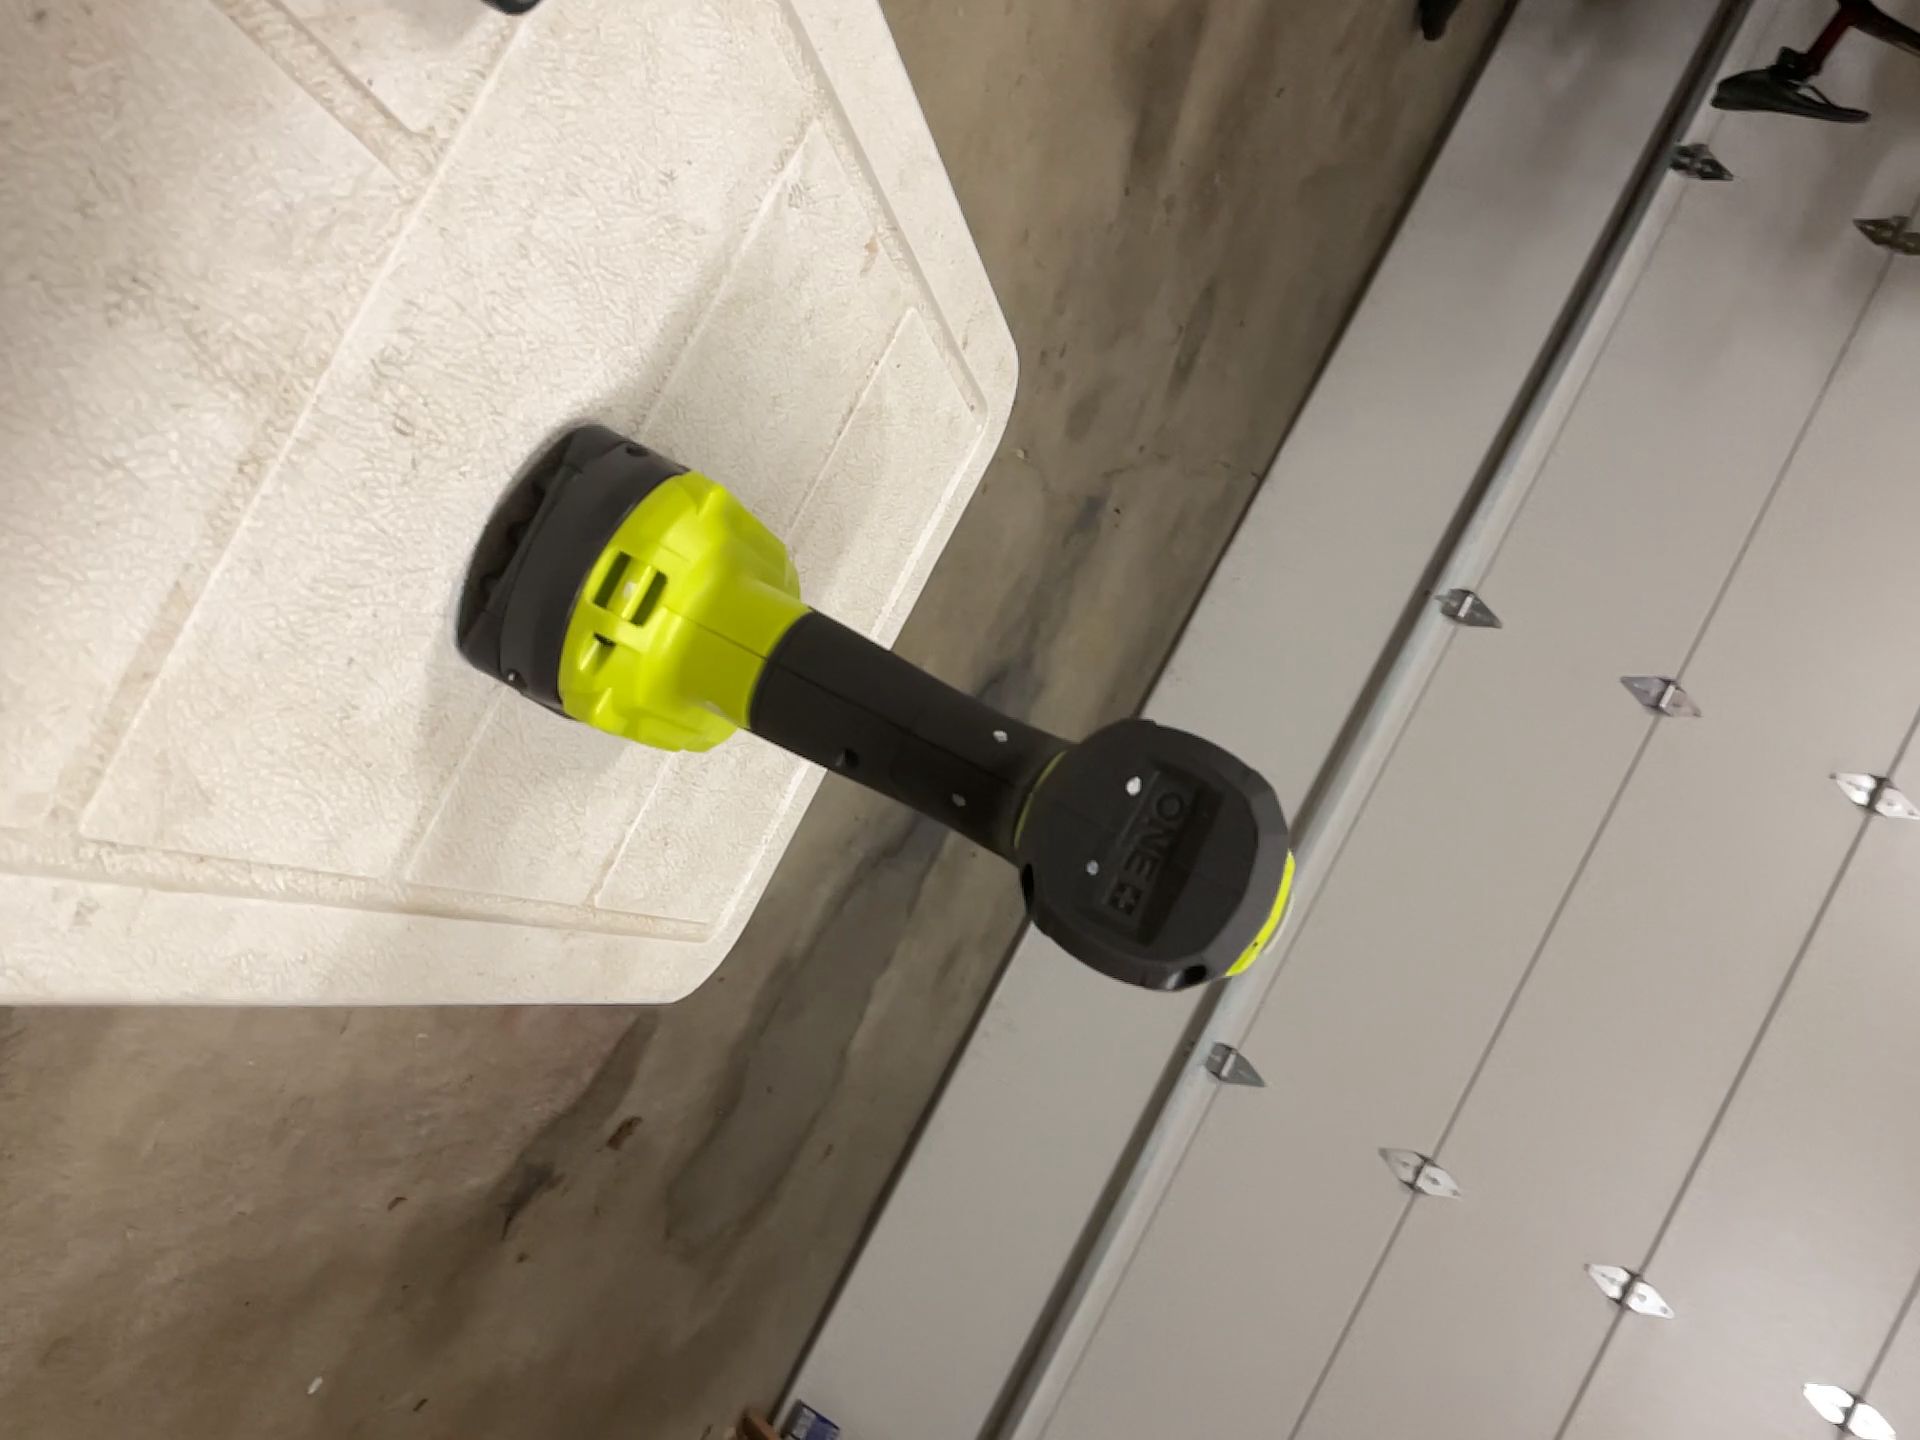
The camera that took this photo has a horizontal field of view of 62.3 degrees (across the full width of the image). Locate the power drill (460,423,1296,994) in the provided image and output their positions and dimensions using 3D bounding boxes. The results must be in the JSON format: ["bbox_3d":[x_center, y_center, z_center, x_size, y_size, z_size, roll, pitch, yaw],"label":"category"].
[{"bbox_3d":[-0.010,0.009,0.469,0.080,0.228,0.190,-63,167,-3],"label":"power drill"}]
